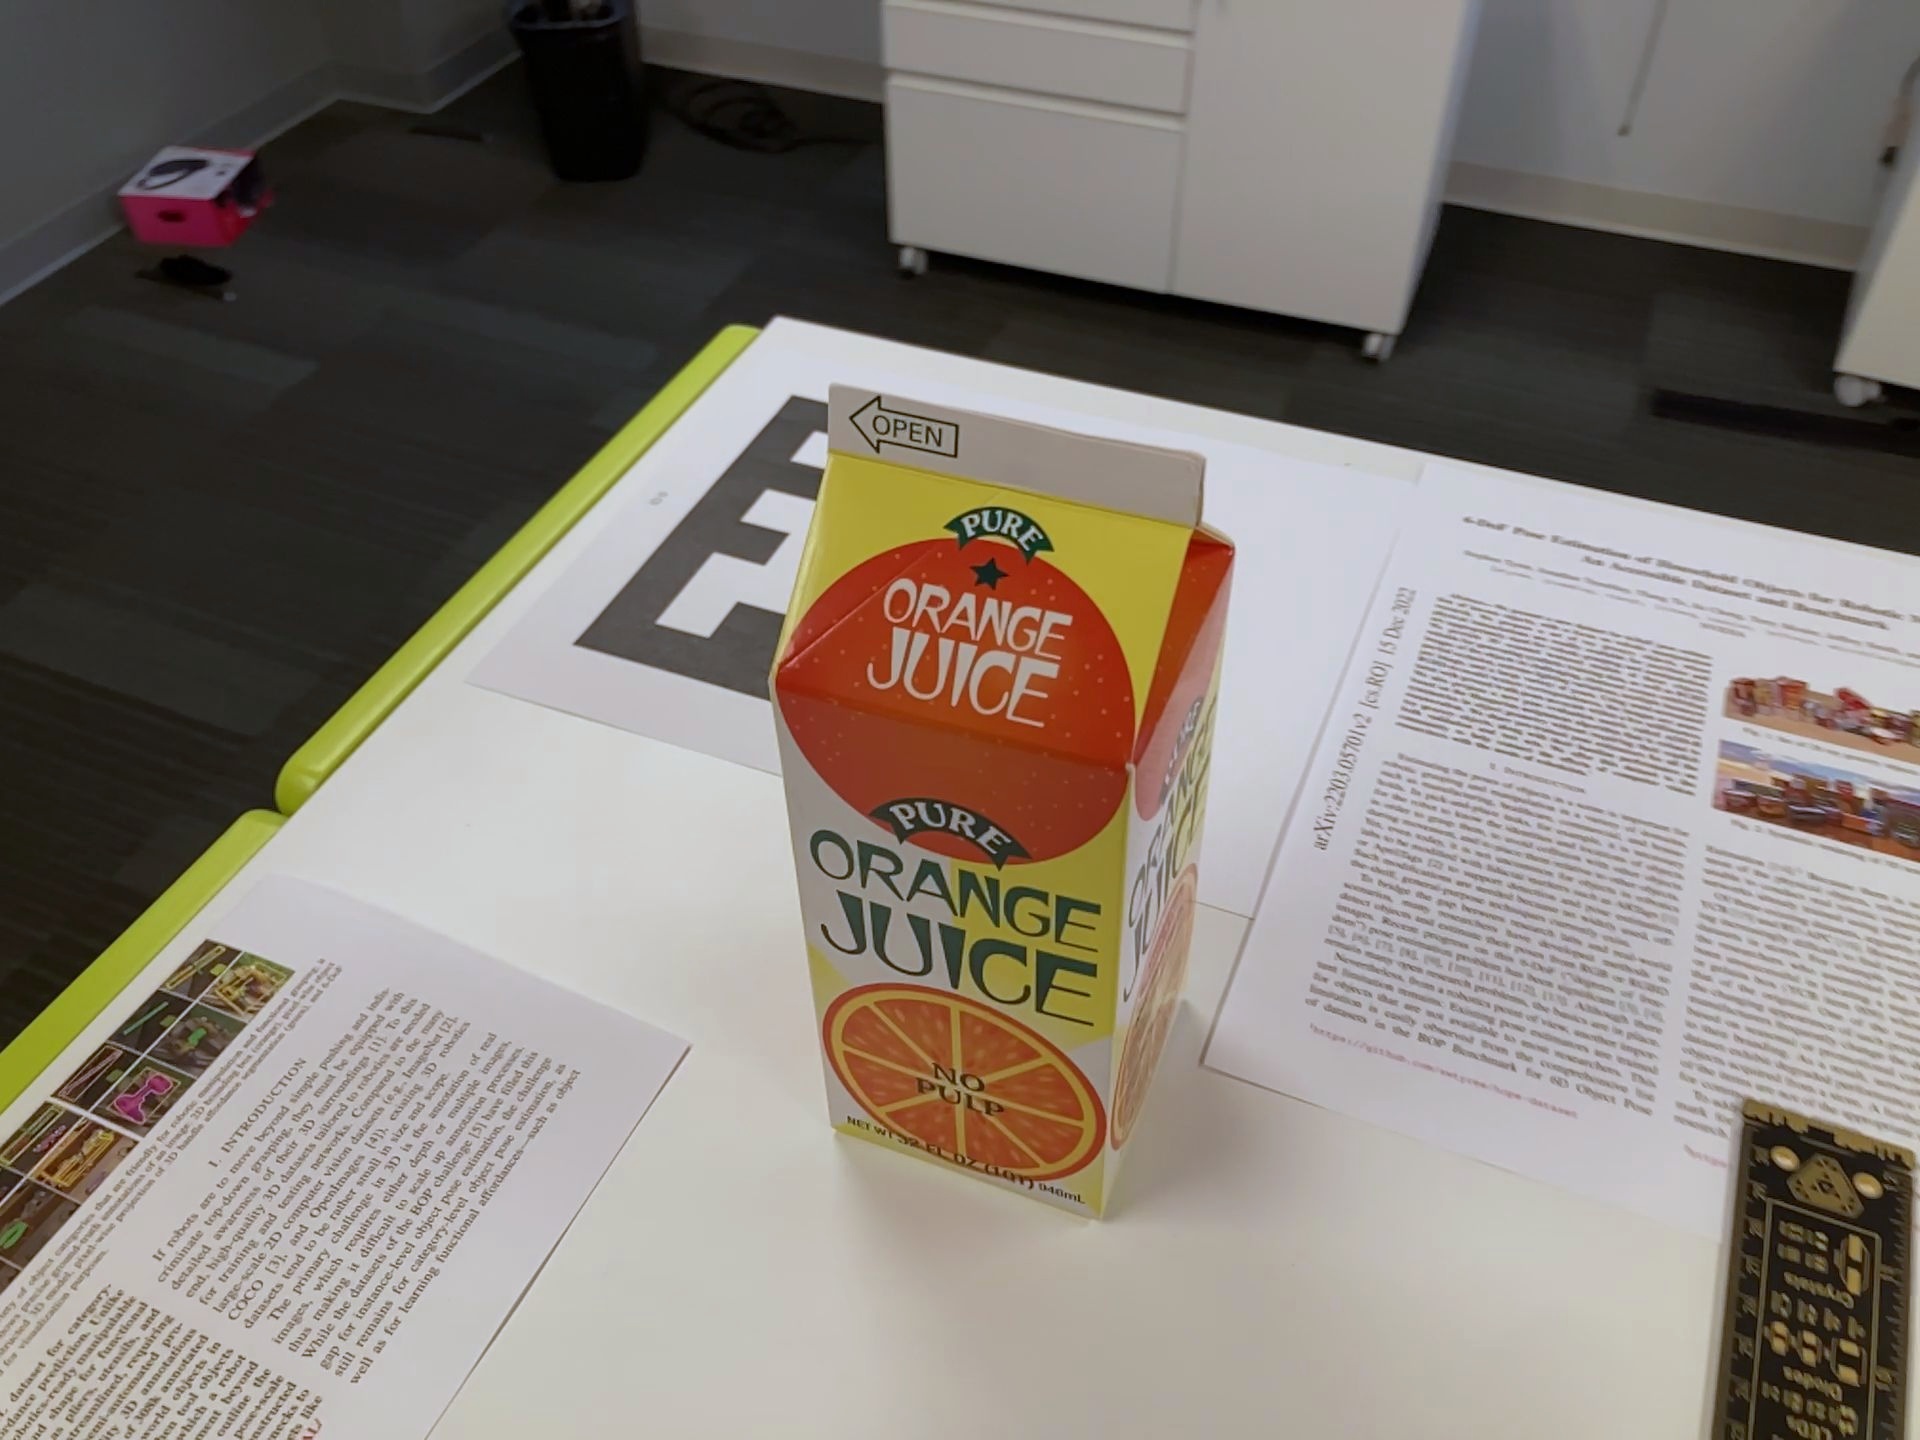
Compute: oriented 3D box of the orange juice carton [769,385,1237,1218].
[{"bbox_3d":[0.011,0.017,0.342,0.072,0.192,0.073,14,45,17],"label":"orange juice carton"}]
